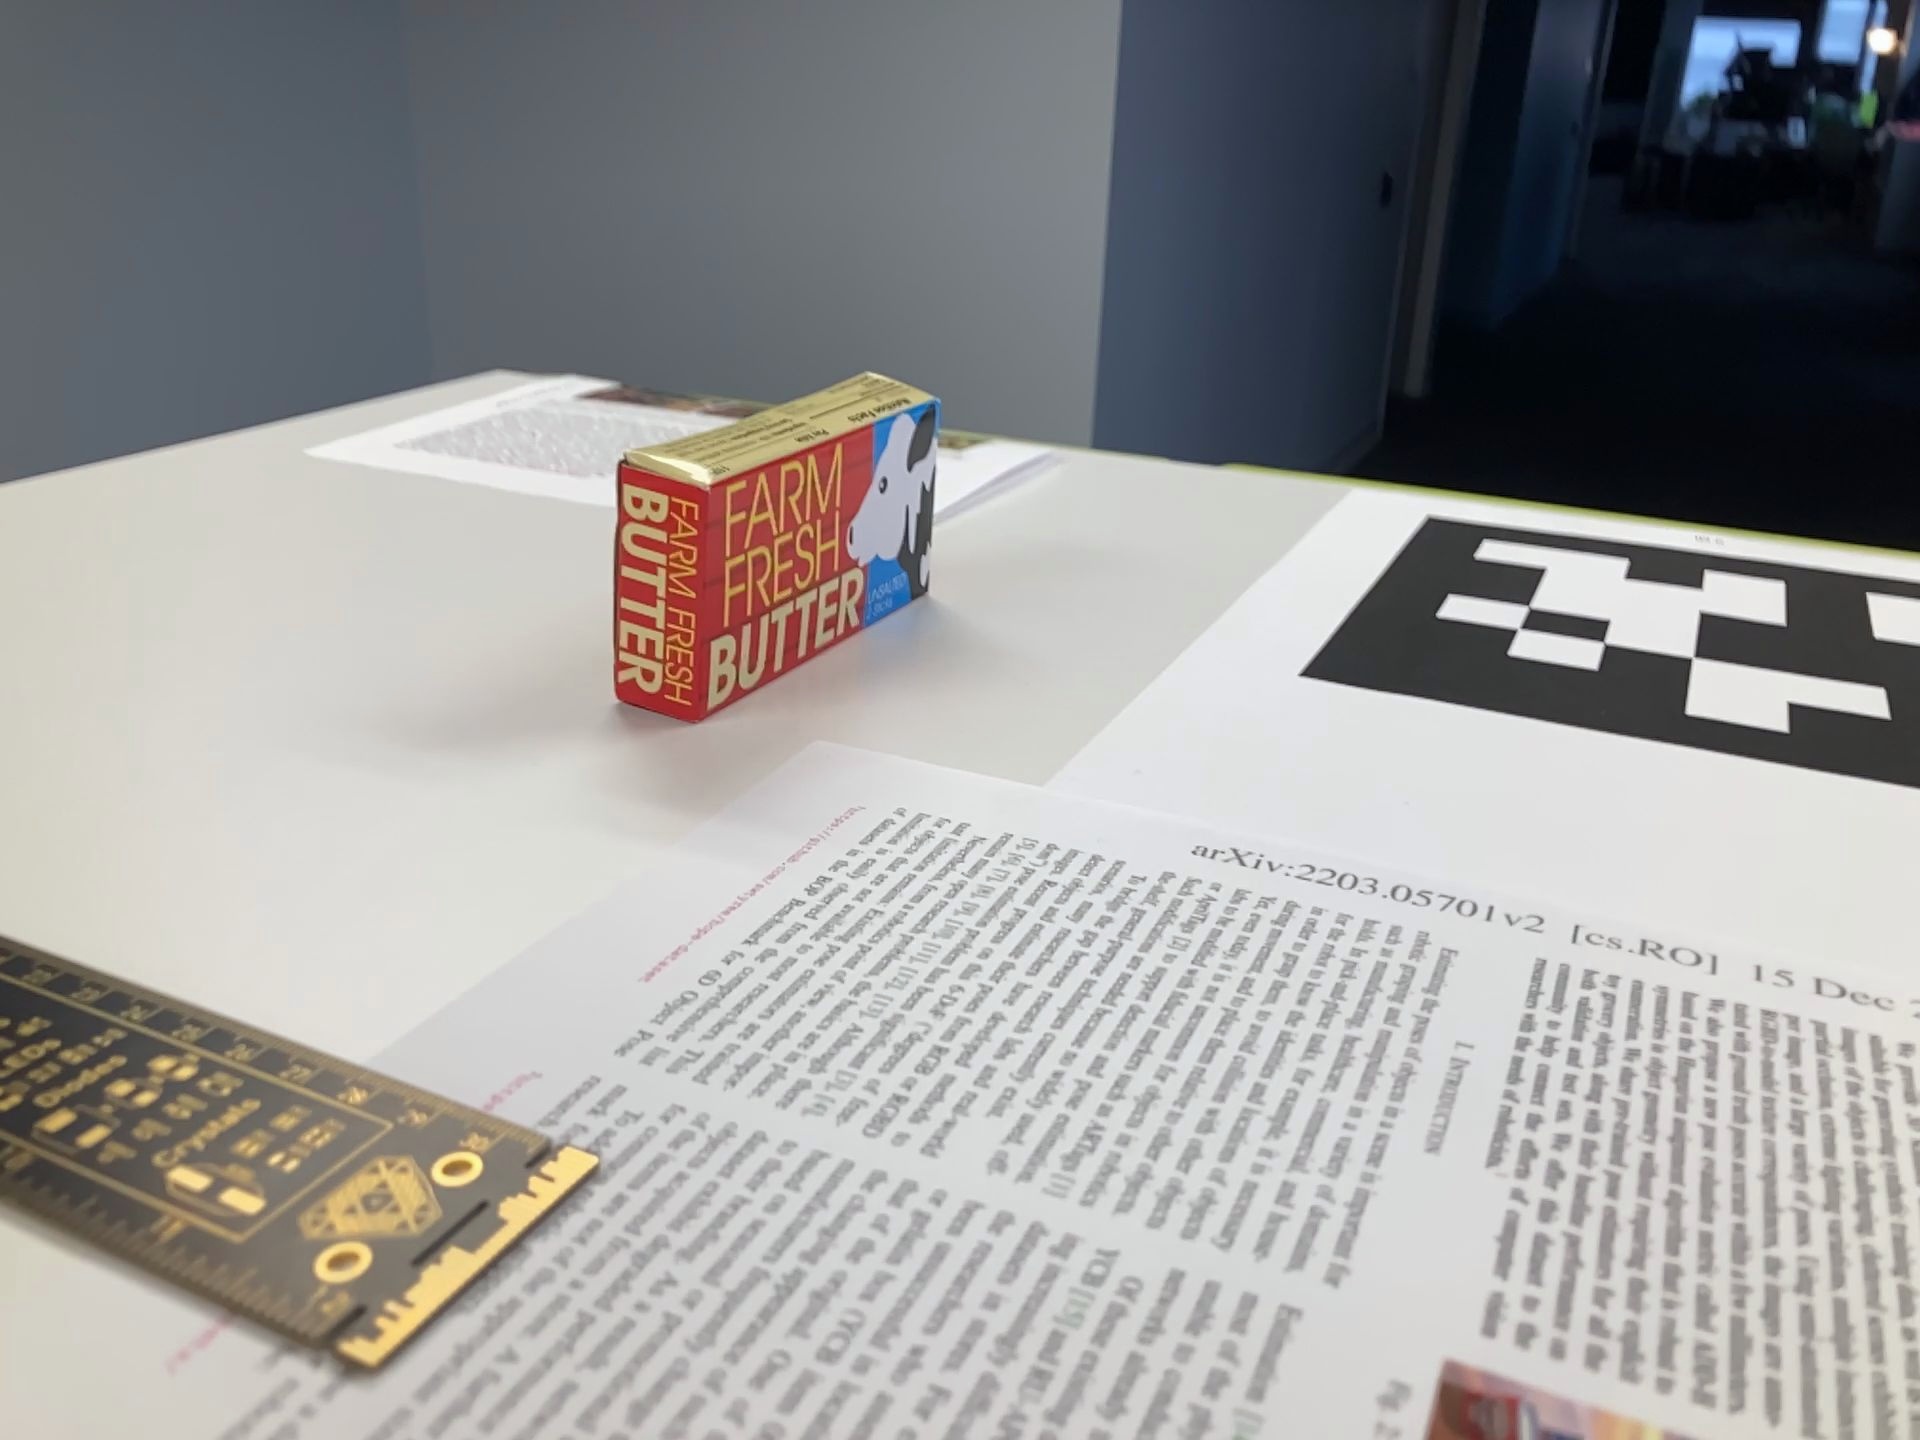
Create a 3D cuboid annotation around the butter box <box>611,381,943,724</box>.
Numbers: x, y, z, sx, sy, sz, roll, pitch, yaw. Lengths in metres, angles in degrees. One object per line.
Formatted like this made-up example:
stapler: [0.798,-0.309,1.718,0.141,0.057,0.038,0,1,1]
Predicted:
butter box: [-0.039,-0.041,0.357,0.024,0.053,0.103,15,26,22]
